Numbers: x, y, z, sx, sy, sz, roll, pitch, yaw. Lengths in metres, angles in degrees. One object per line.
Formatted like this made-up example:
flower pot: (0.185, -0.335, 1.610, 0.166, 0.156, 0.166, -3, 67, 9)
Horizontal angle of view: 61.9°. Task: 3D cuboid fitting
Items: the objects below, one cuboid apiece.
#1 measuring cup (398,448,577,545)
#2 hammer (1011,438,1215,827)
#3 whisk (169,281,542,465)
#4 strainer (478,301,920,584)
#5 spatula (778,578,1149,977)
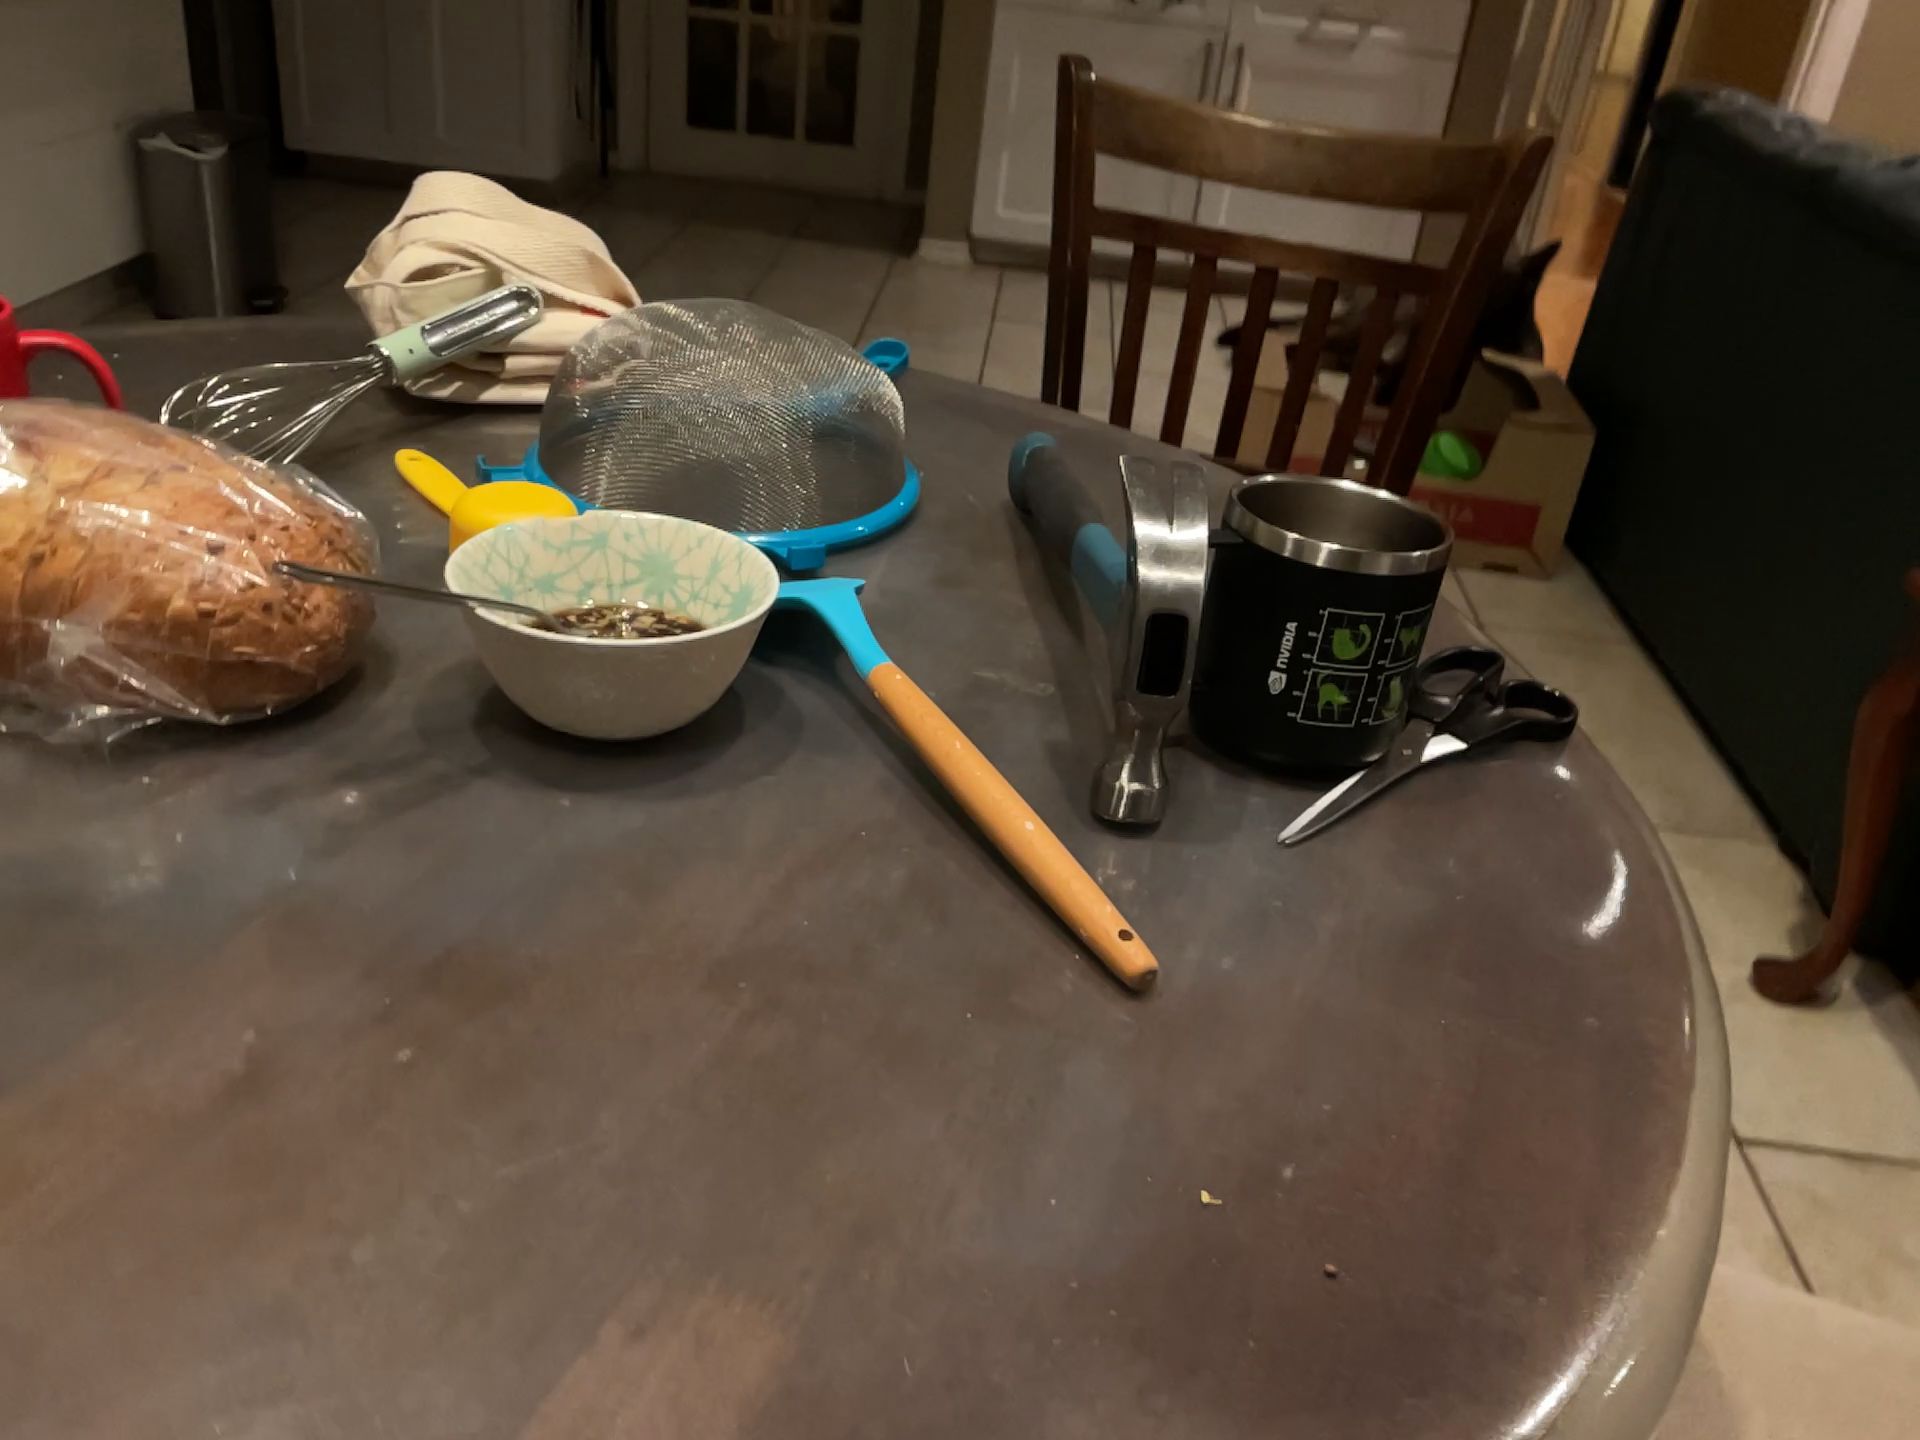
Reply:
measuring cup: (-0.237, -0.114, 0.779, 0.062, 0.029, 0.156, -17, 38, -37)
hammer: (0.059, -0.076, 0.728, 0.033, 0.128, 0.331, 6, 20, -8)
whisk: (-0.310, -0.186, 0.845, 0.059, 0.057, 0.246, -9, 24, 40)
strainer: (-0.099, -0.196, 0.896, 0.211, 0.095, 0.341, 17, 34, 14)
spatula: (-0.021, 0.003, 0.633, 0.082, 0.044, 0.318, -9, 37, -29)
